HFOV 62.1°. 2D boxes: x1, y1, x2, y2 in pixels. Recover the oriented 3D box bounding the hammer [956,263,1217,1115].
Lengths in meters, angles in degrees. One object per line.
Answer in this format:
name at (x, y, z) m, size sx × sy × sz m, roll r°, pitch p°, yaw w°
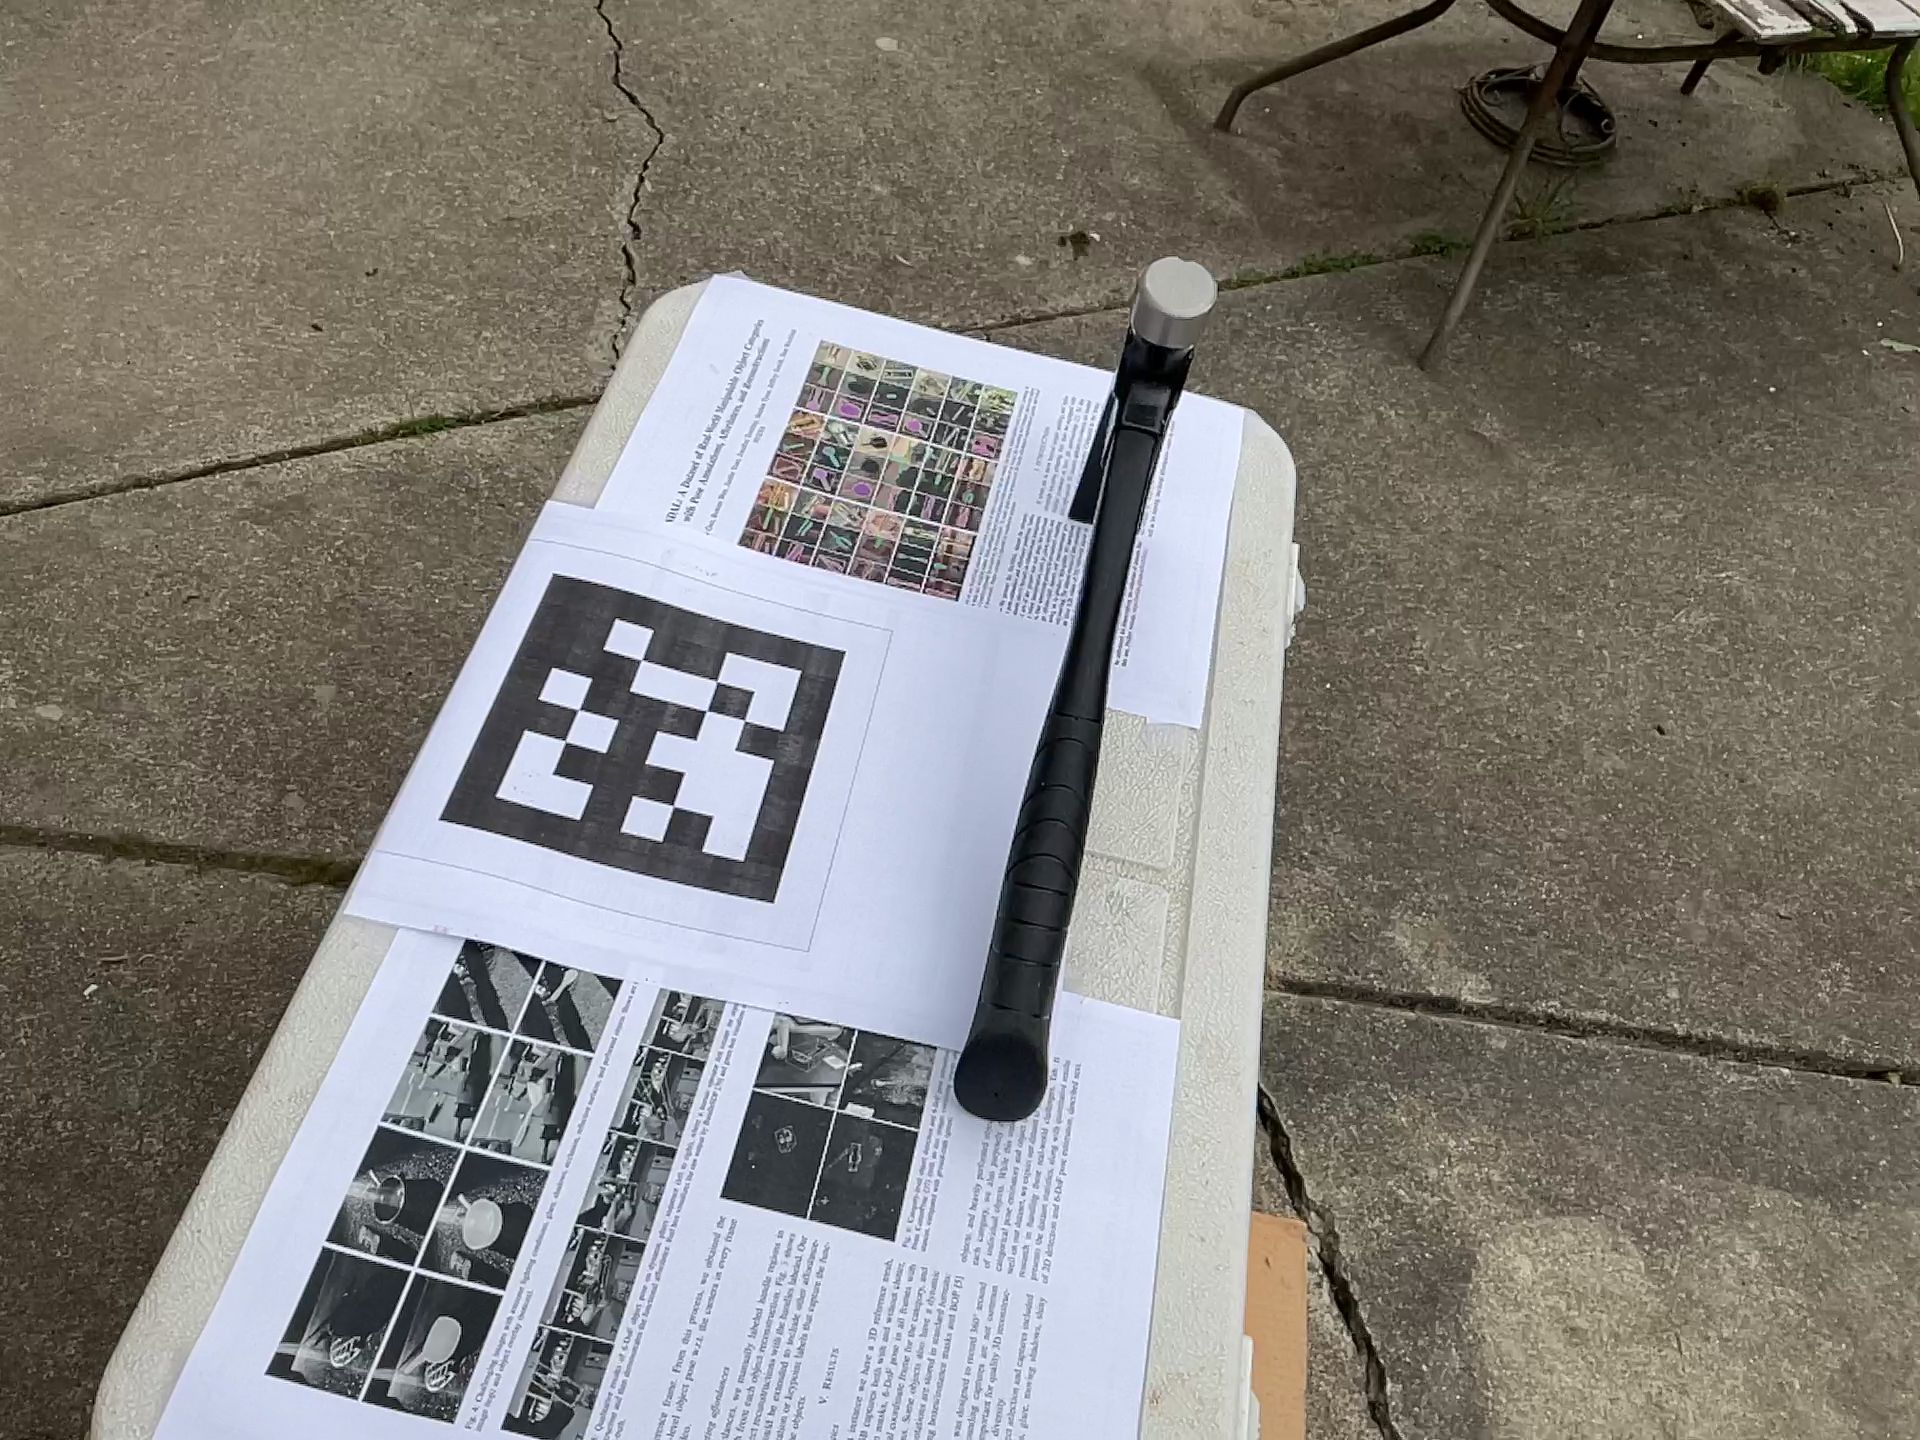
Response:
hammer at (0.048, -0.010, 0.631) m, size 0.035 × 0.146 × 0.335 m, roll 14°, pitch 62°, yaw 1°
